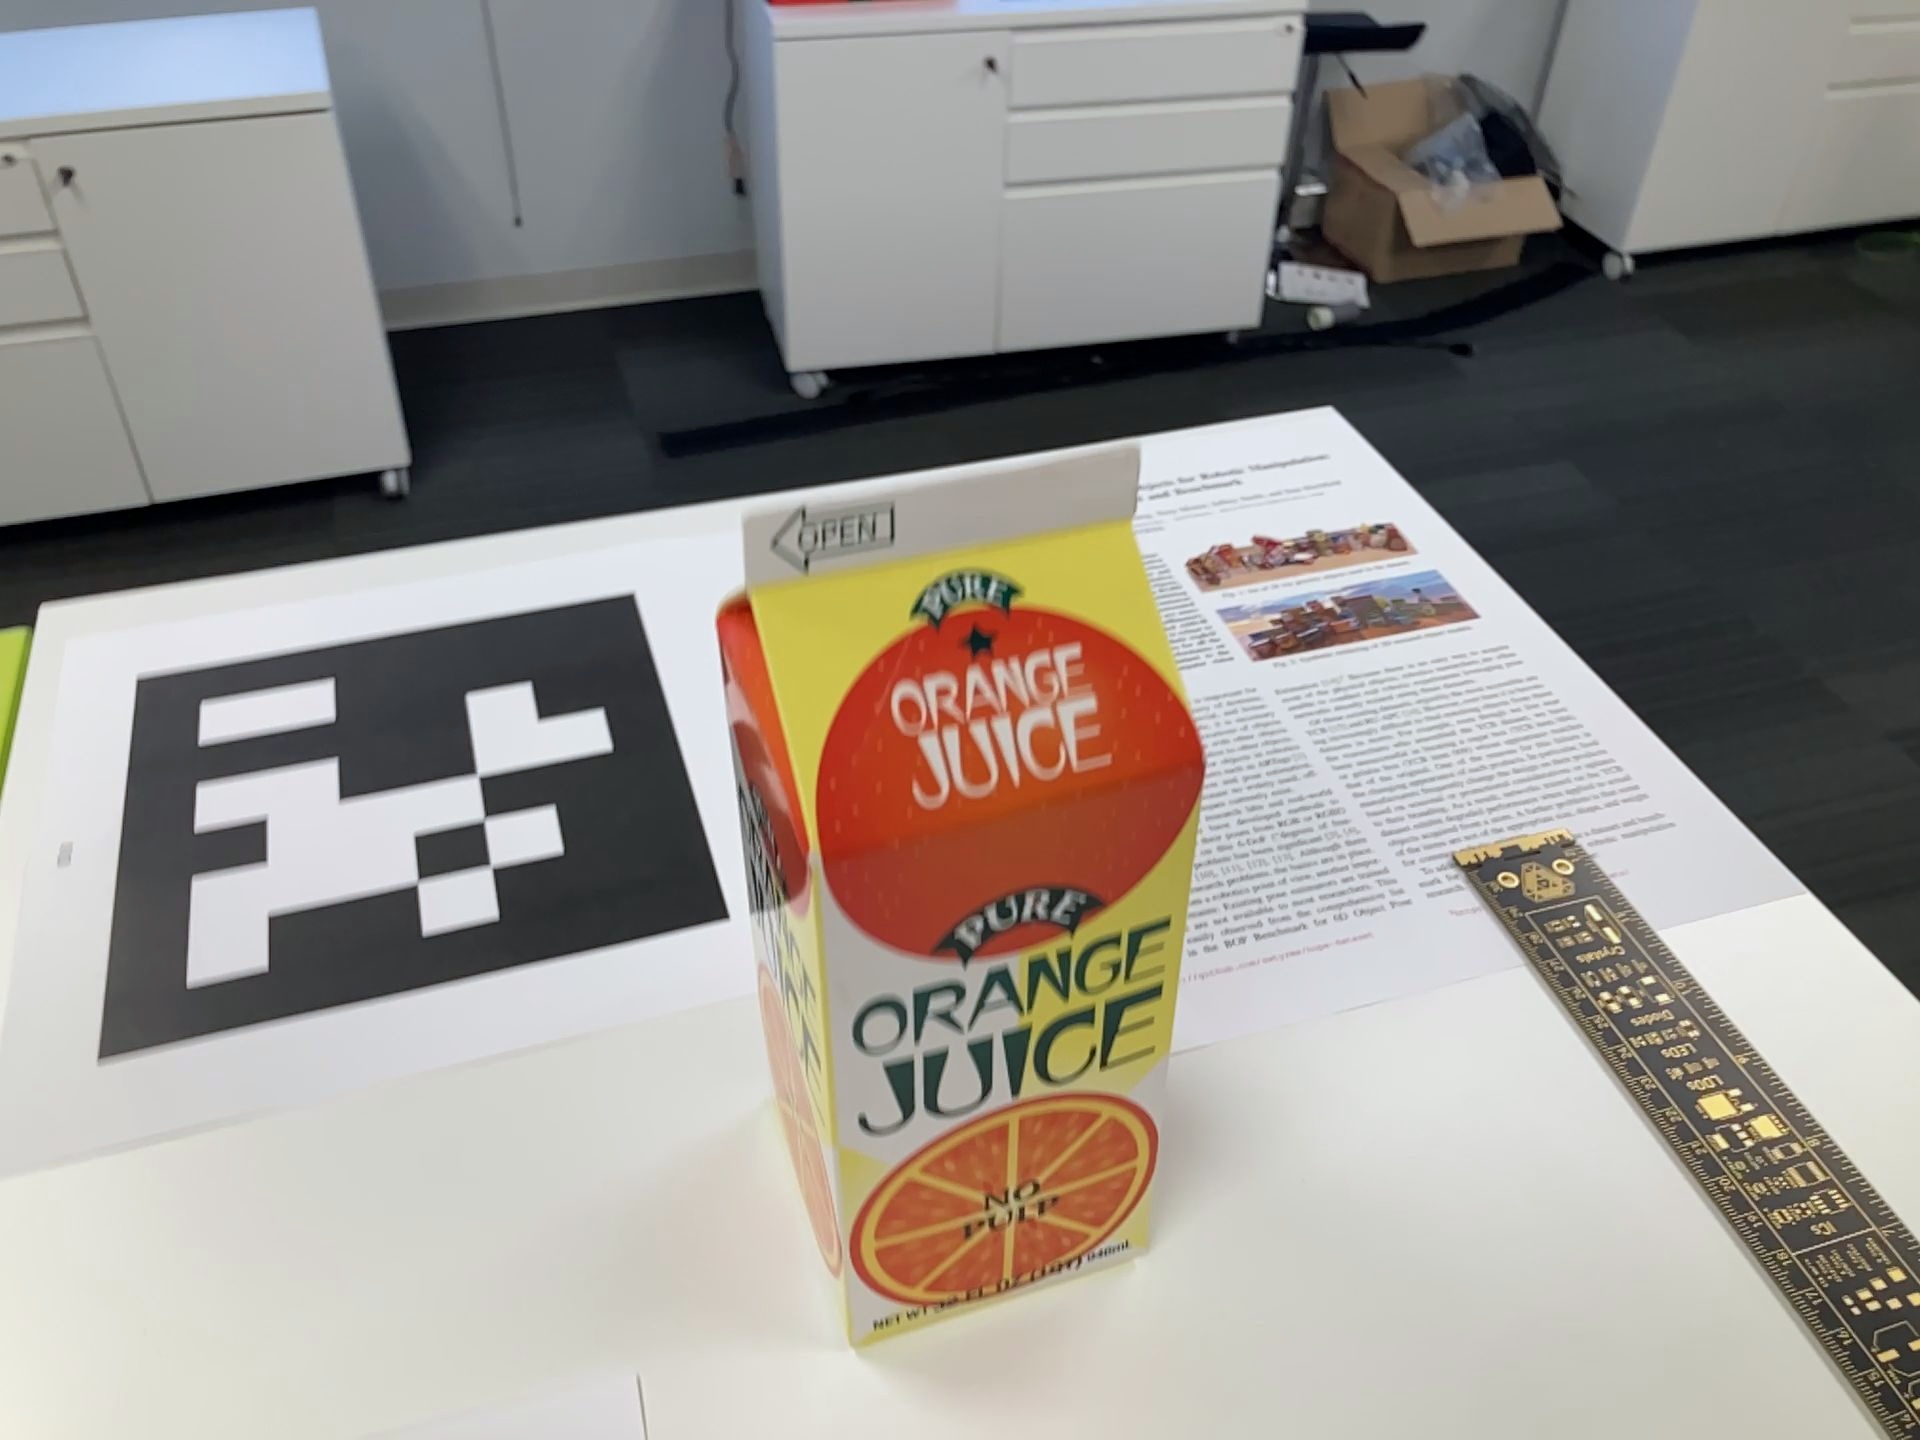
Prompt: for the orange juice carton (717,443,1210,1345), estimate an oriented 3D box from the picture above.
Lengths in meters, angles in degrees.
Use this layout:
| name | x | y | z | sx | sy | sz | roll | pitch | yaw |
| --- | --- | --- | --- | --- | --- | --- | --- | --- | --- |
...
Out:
| name | x | y | z | sx | sy | sz | roll | pitch | yaw |
| --- | --- | --- | --- | --- | --- | --- | --- | --- | --- |
| orange juice carton | -0.001 | 0.034 | 0.318 | 0.072 | 0.192 | 0.073 | -13 | 41 | -15 |
